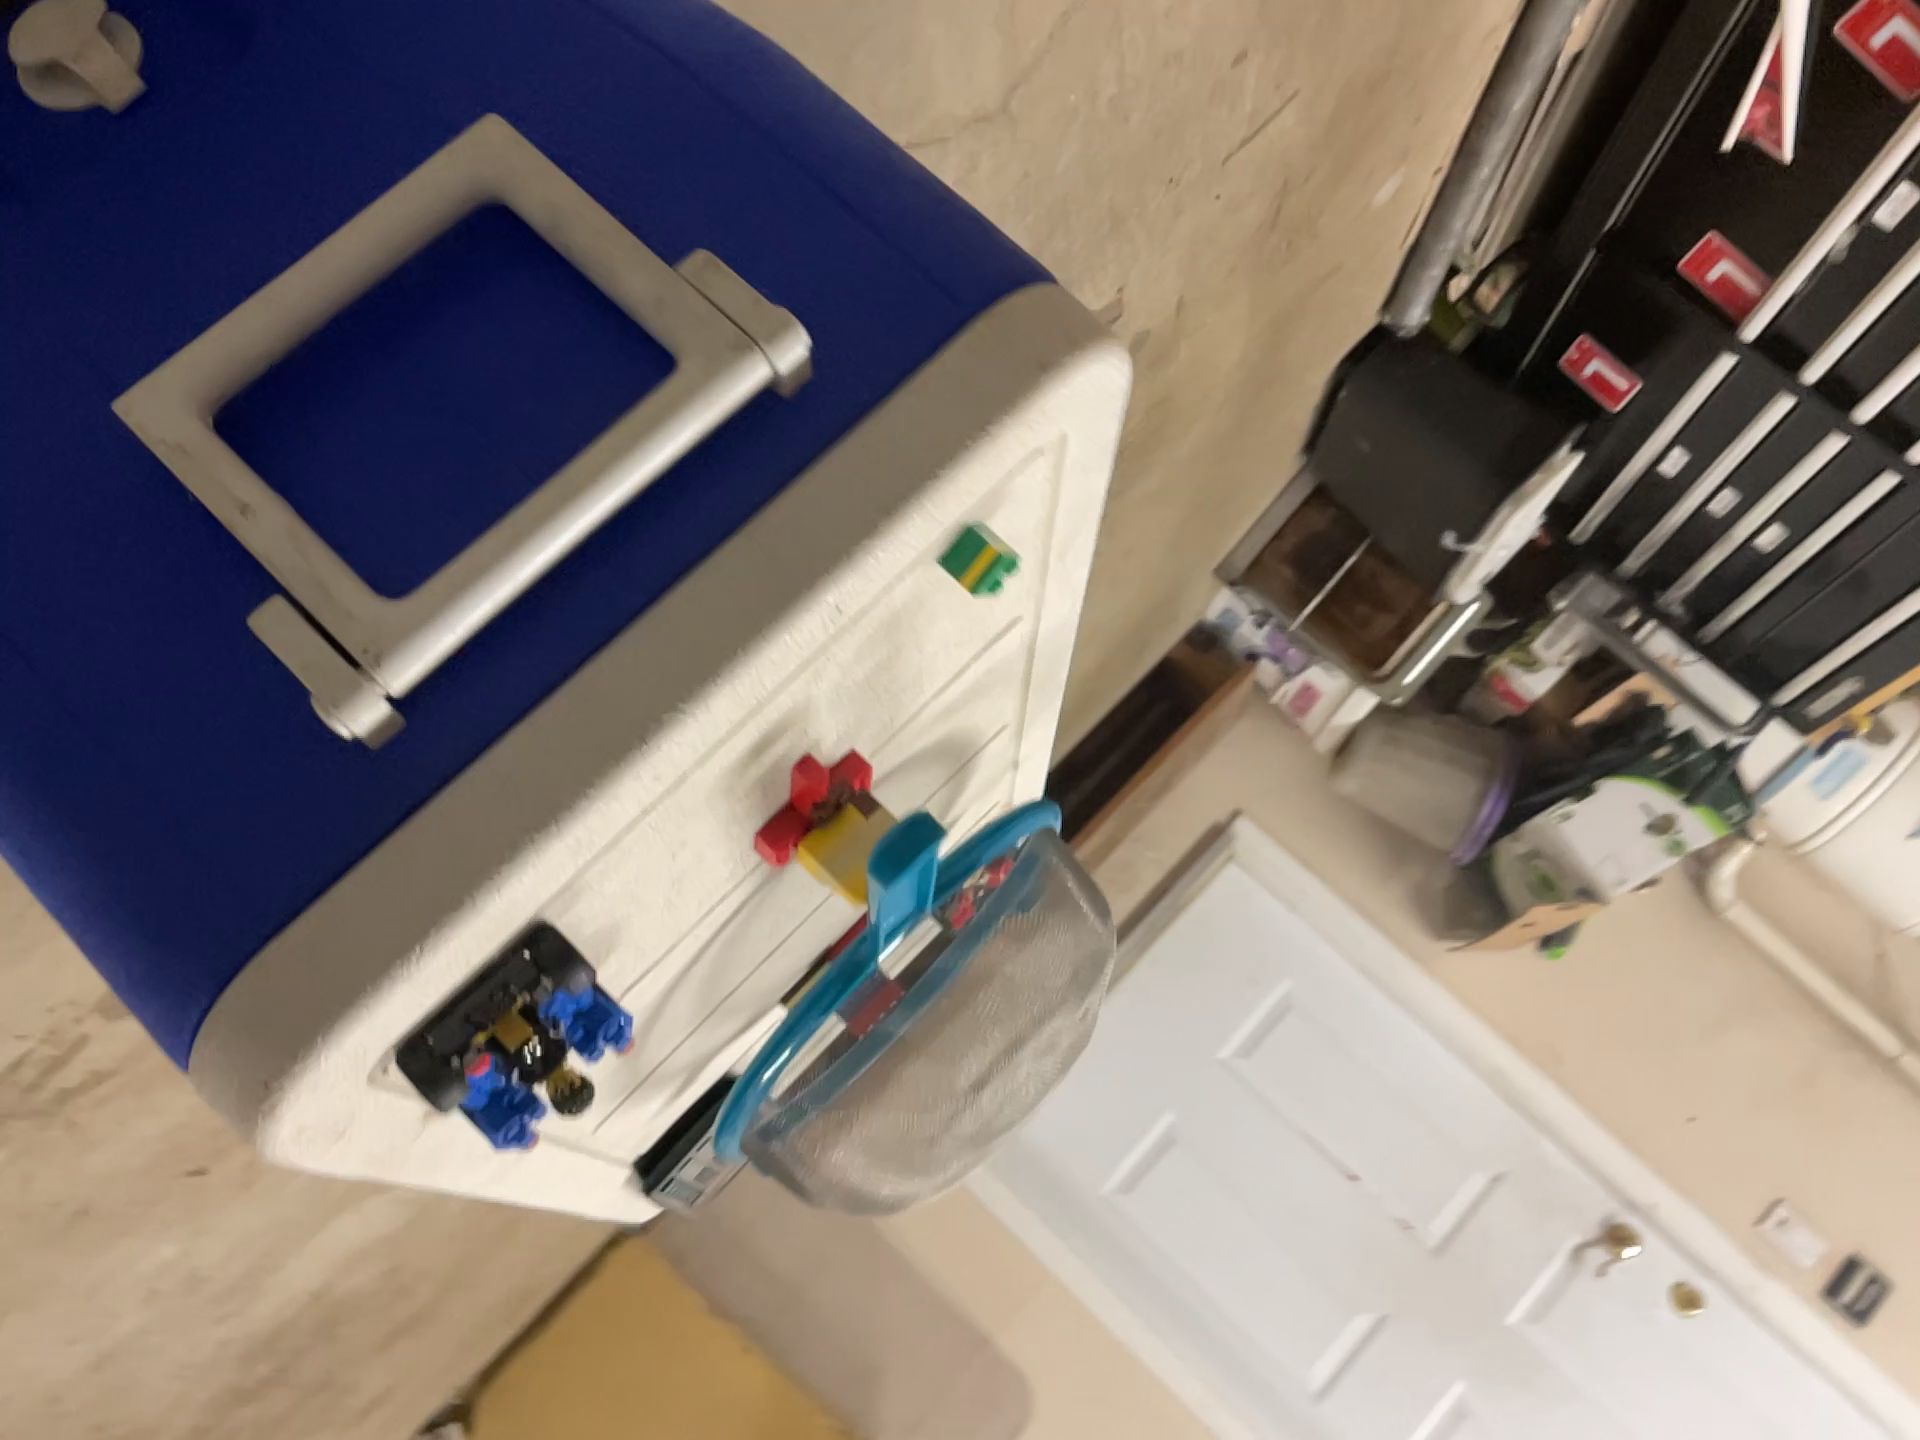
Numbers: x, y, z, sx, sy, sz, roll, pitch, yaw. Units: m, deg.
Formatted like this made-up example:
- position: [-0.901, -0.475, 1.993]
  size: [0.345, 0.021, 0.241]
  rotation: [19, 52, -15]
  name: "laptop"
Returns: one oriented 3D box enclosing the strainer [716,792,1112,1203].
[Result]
- position: [0.003, 0.117, 0.634]
  size: [0.211, 0.095, 0.340]
  rotation: [-44, 168, -16]
  name: "strainer"
